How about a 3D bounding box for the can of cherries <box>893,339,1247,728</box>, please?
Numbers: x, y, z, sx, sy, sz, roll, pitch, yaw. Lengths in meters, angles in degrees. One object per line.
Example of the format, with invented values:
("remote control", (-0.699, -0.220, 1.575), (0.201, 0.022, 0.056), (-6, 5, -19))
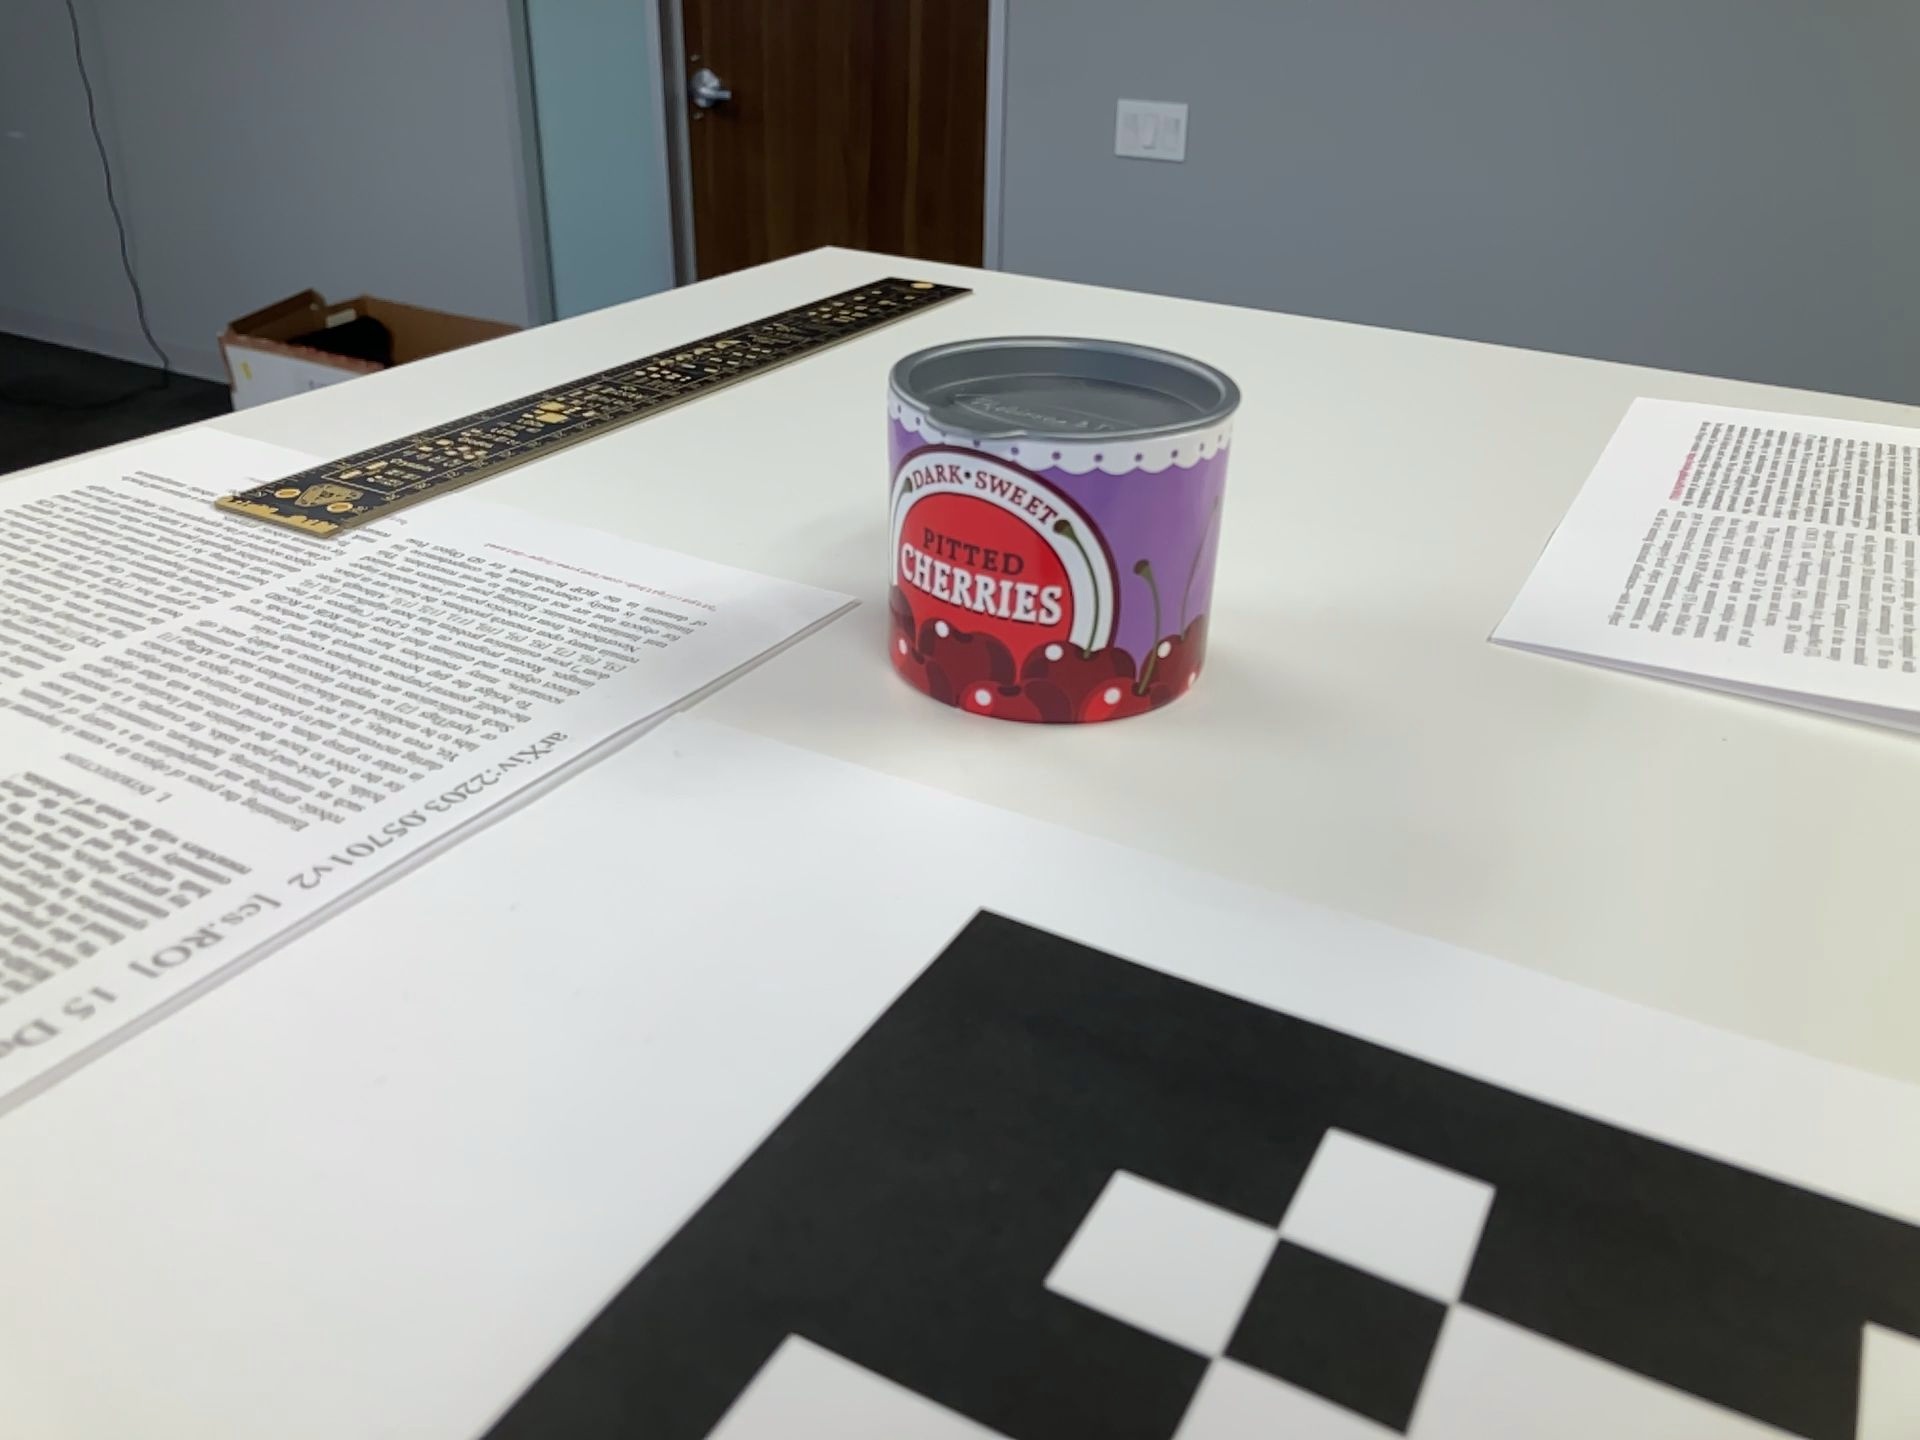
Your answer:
("can of cherries", (0.018, -0.037, 0.308), (0.071, 0.058, 0.071), (2, 27, -1))
